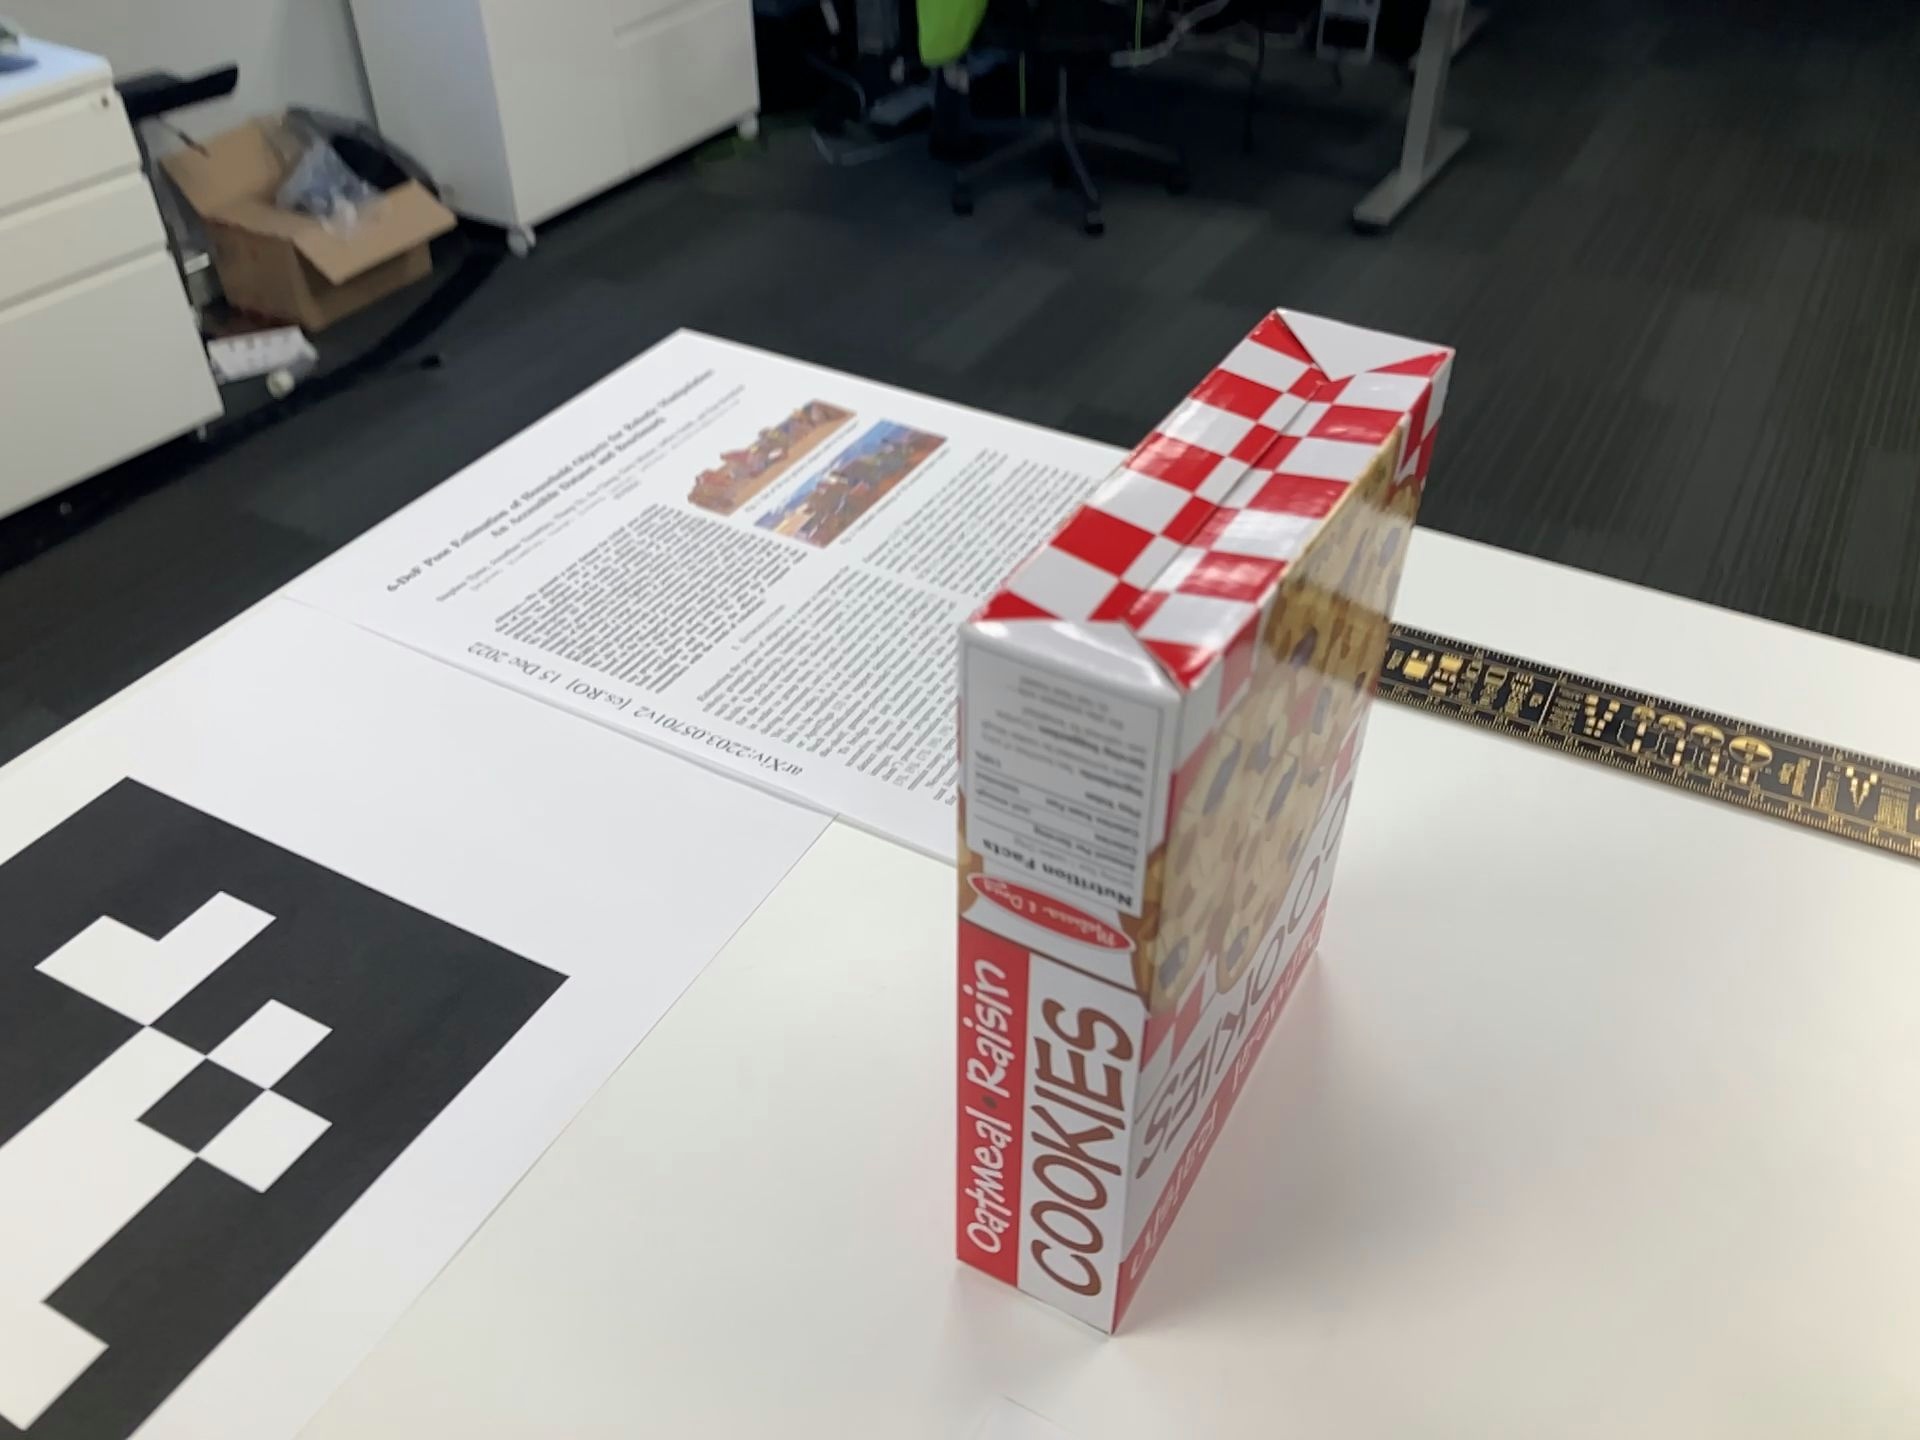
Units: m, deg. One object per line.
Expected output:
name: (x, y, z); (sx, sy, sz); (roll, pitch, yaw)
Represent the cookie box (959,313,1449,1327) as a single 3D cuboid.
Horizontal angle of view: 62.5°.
cookie box: (0.045, 0.023, 0.319); (0.040, 0.167, 0.123); (21, 44, 23)
